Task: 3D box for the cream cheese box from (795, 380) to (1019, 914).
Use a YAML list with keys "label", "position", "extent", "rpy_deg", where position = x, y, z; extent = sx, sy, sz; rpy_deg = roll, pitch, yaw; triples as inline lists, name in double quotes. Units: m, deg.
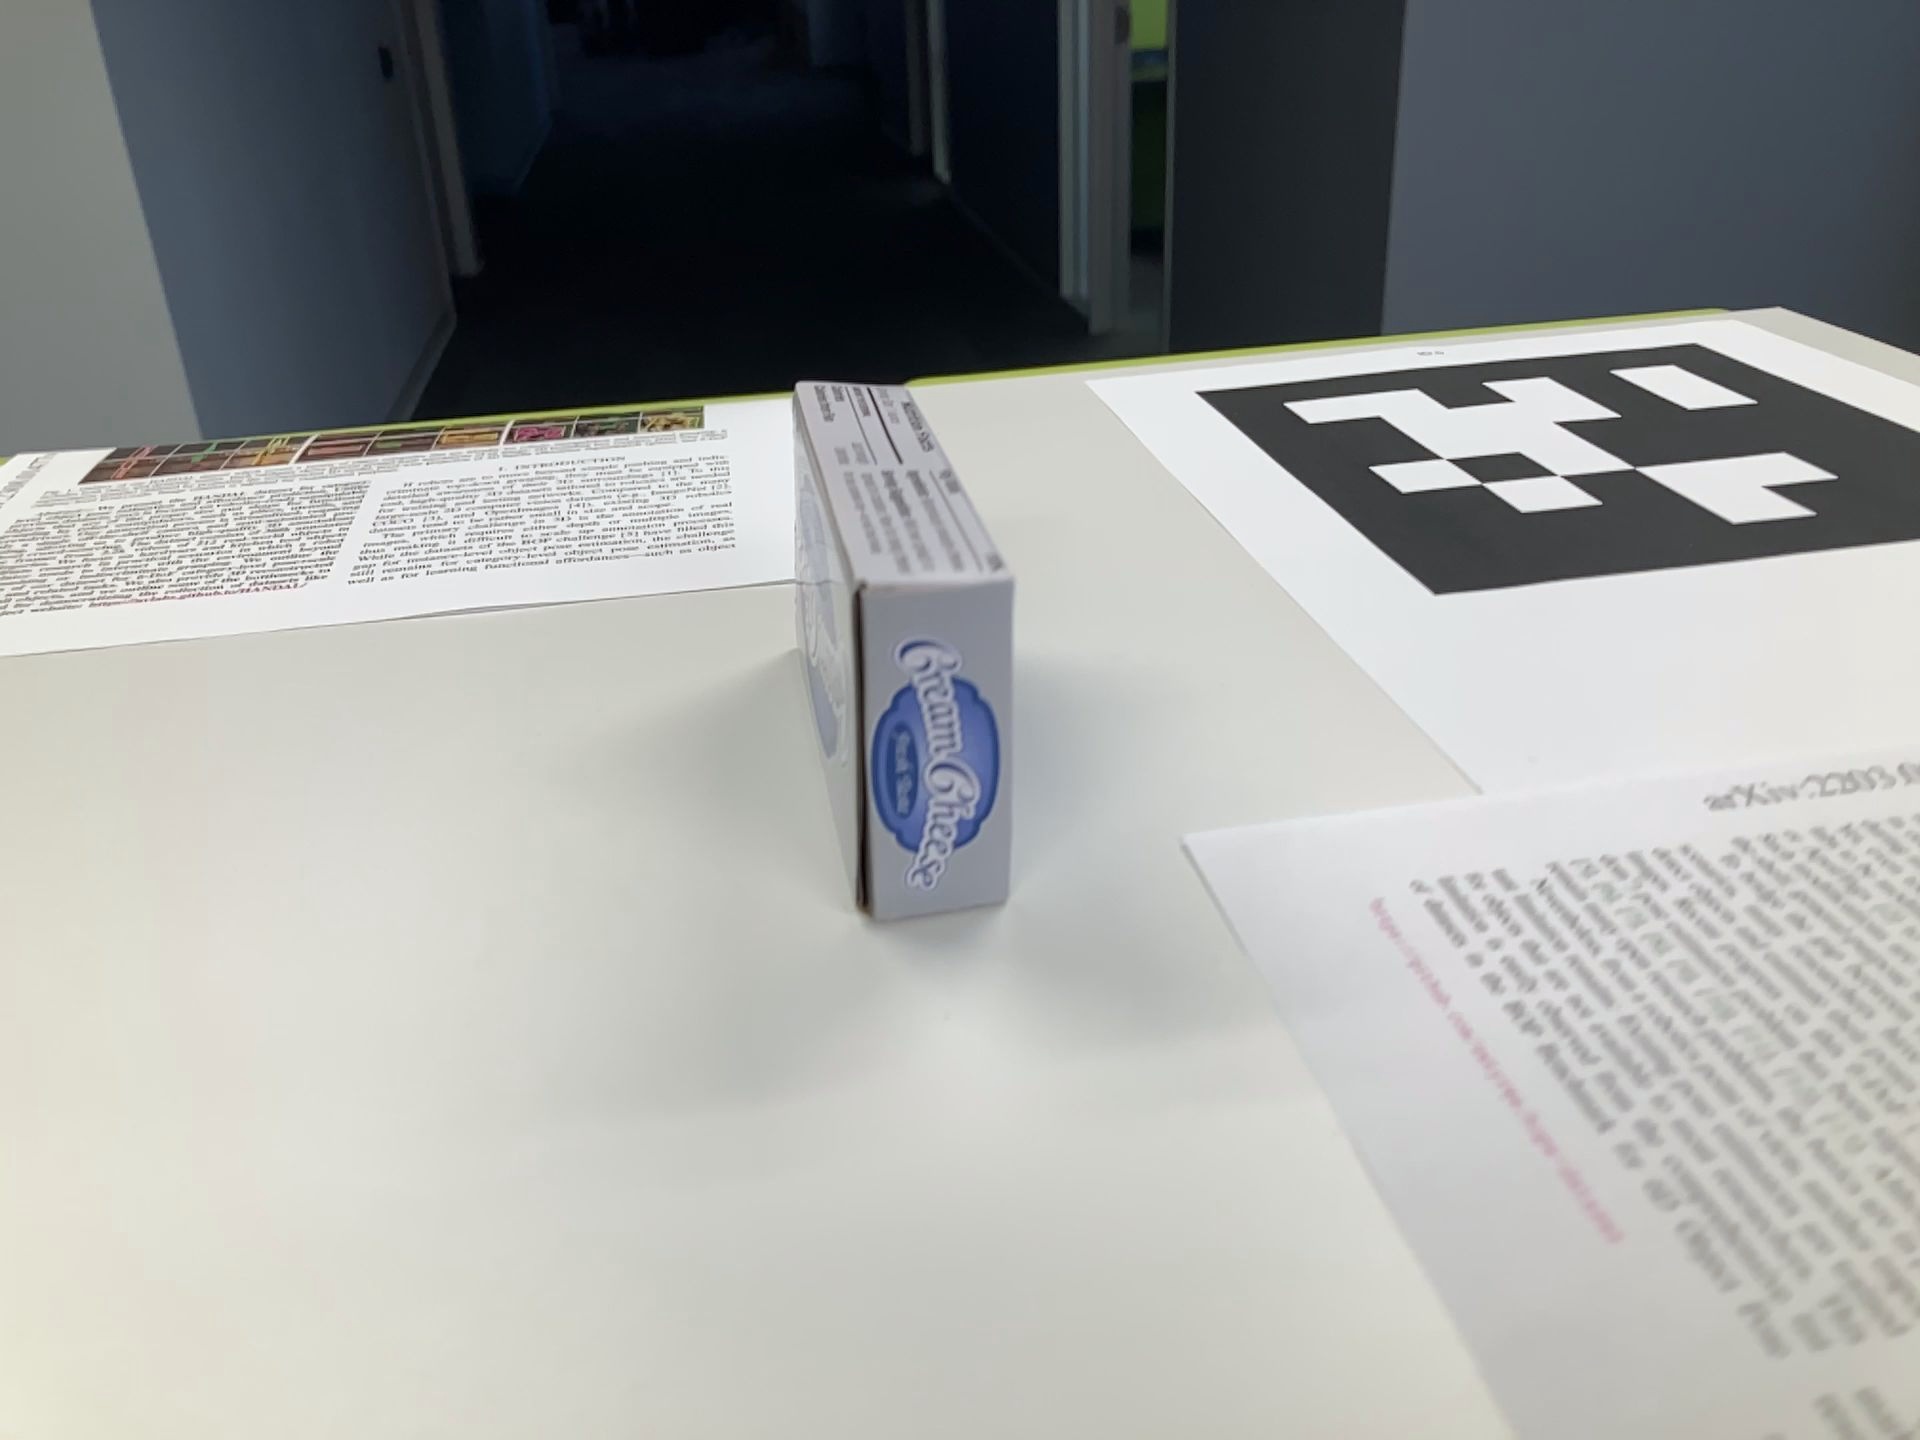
- label: "cream cheese box"
  position: [-0.012, -0.018, 0.266]
  extent: [0.024, 0.053, 0.104]
  rpy_deg: [-5, 27, -9]
